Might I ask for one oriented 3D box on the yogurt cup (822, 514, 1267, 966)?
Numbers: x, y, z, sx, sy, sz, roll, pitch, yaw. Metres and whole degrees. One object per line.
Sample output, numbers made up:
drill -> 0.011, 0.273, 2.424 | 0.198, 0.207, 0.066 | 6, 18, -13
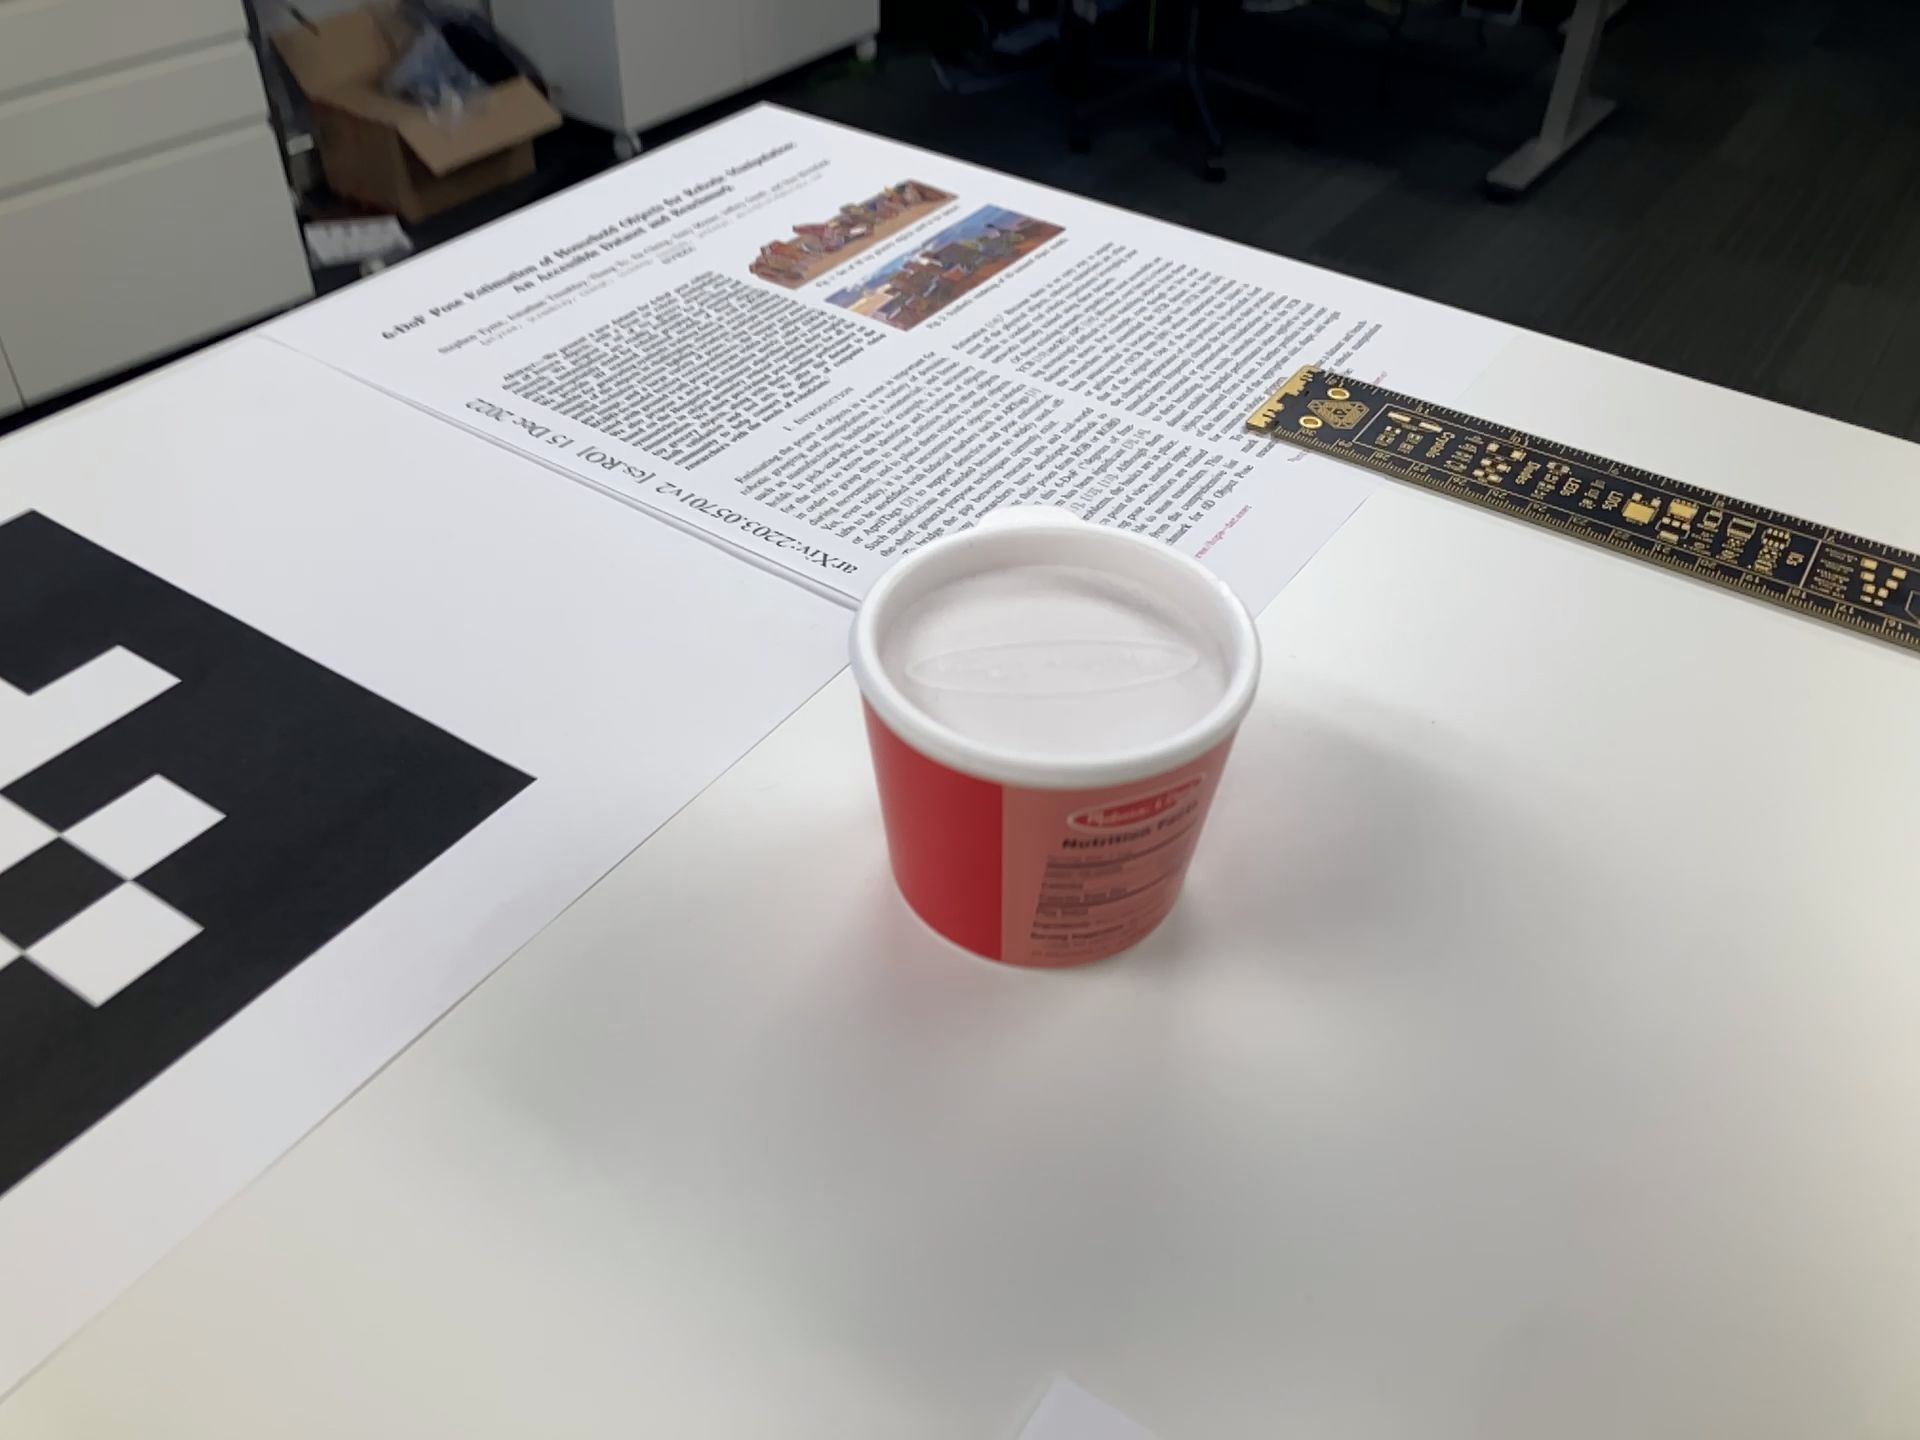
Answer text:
yogurt cup -> 0.015, 0.005, 0.274 | 0.072, 0.054, 0.072 | 1, 42, -1
